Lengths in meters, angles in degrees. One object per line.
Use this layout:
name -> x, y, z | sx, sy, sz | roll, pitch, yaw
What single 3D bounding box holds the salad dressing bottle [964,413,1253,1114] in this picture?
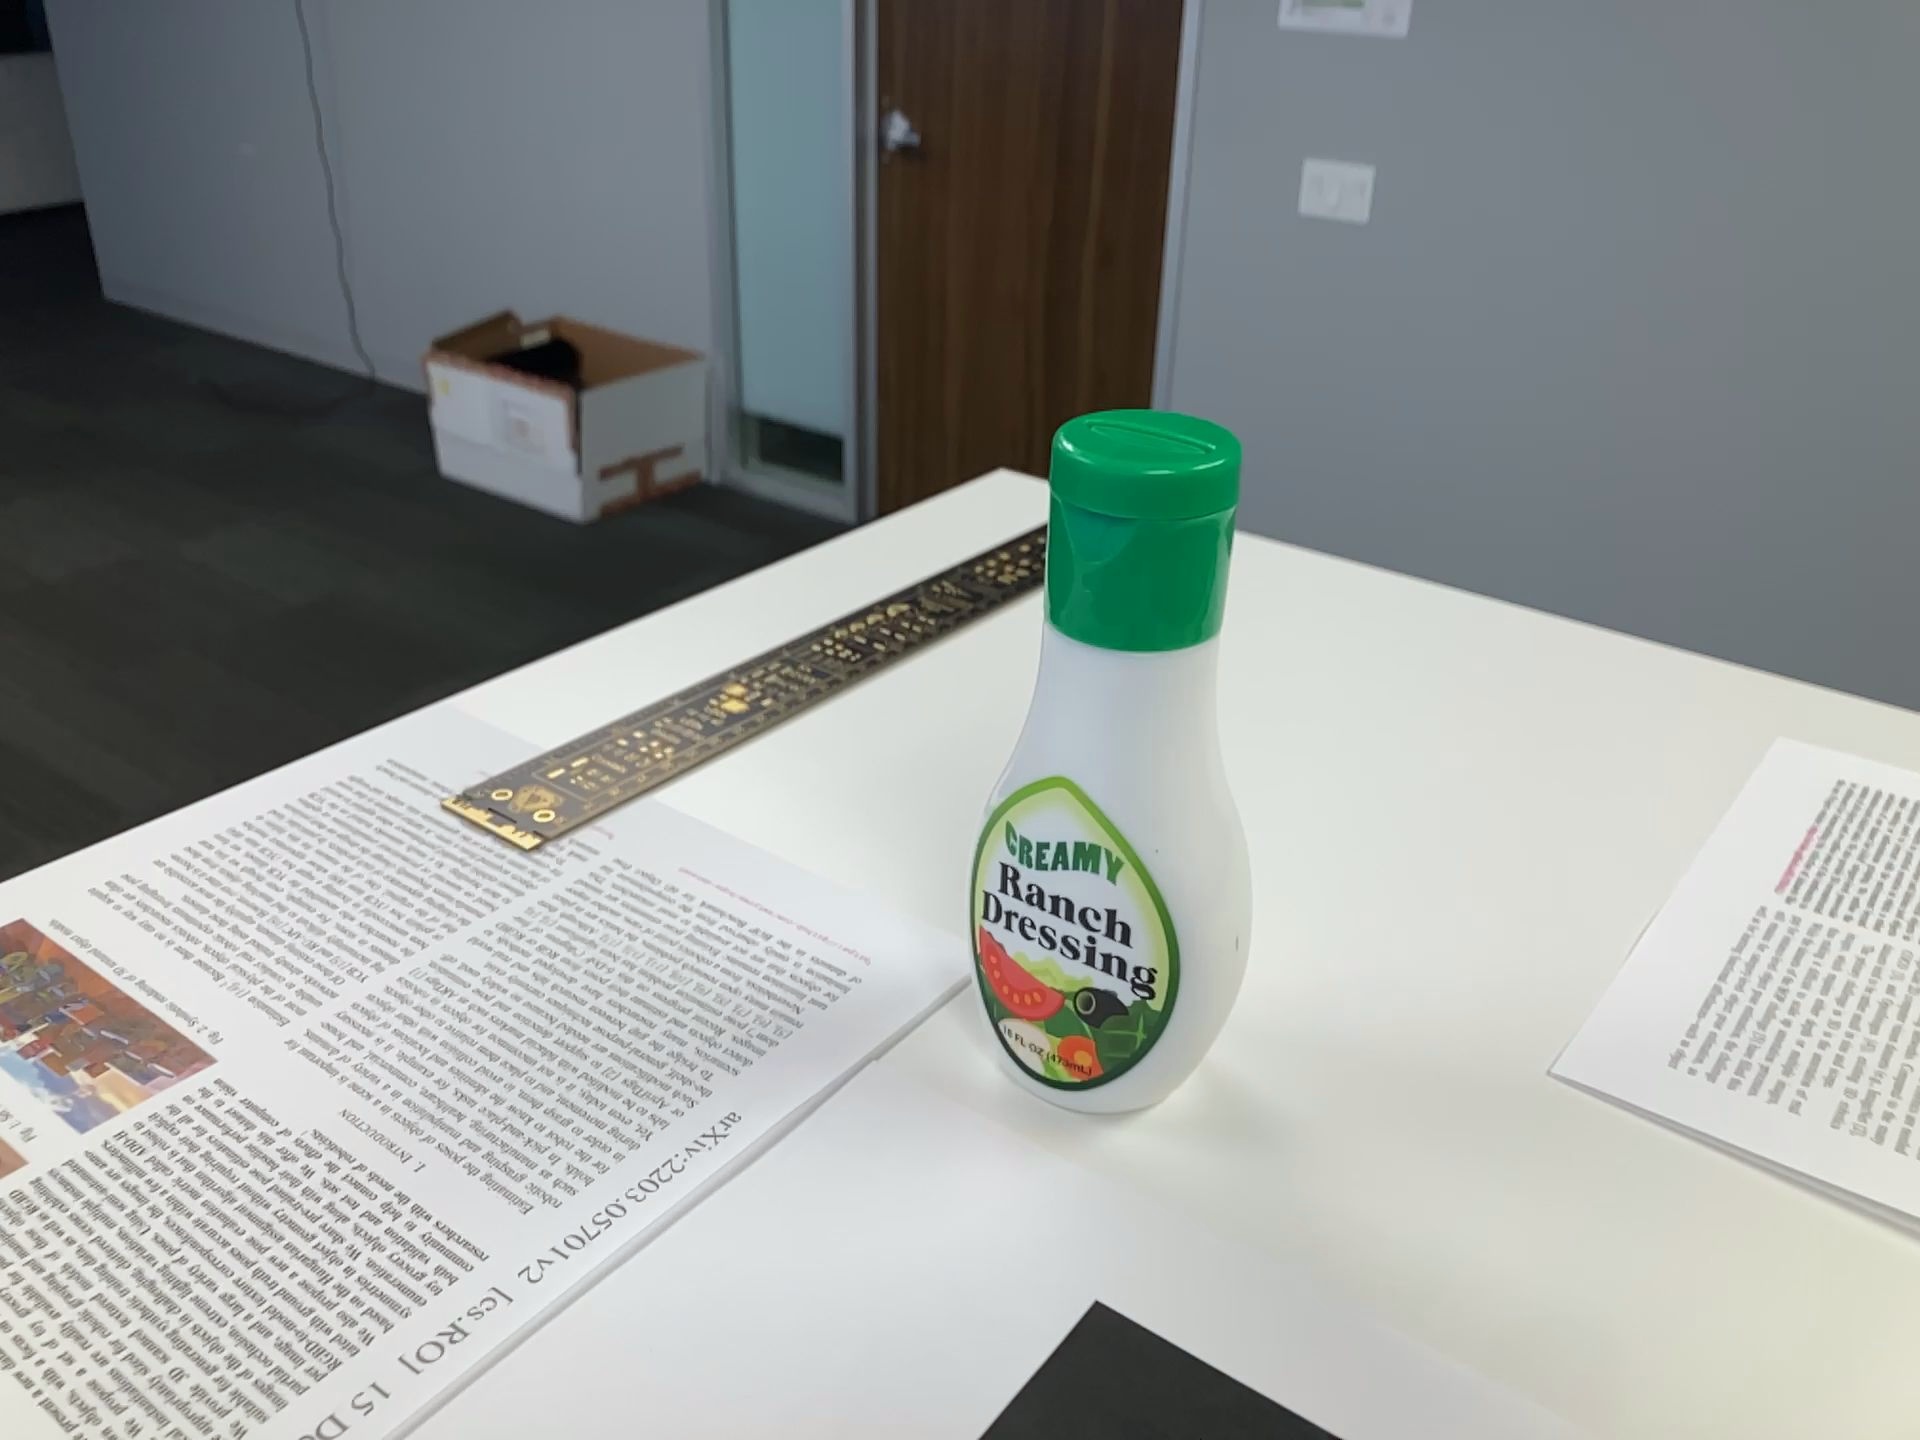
salad dressing bottle -> 0.033, 0.012, 0.334 | 0.064, 0.147, 0.044 | 20, 32, 32
